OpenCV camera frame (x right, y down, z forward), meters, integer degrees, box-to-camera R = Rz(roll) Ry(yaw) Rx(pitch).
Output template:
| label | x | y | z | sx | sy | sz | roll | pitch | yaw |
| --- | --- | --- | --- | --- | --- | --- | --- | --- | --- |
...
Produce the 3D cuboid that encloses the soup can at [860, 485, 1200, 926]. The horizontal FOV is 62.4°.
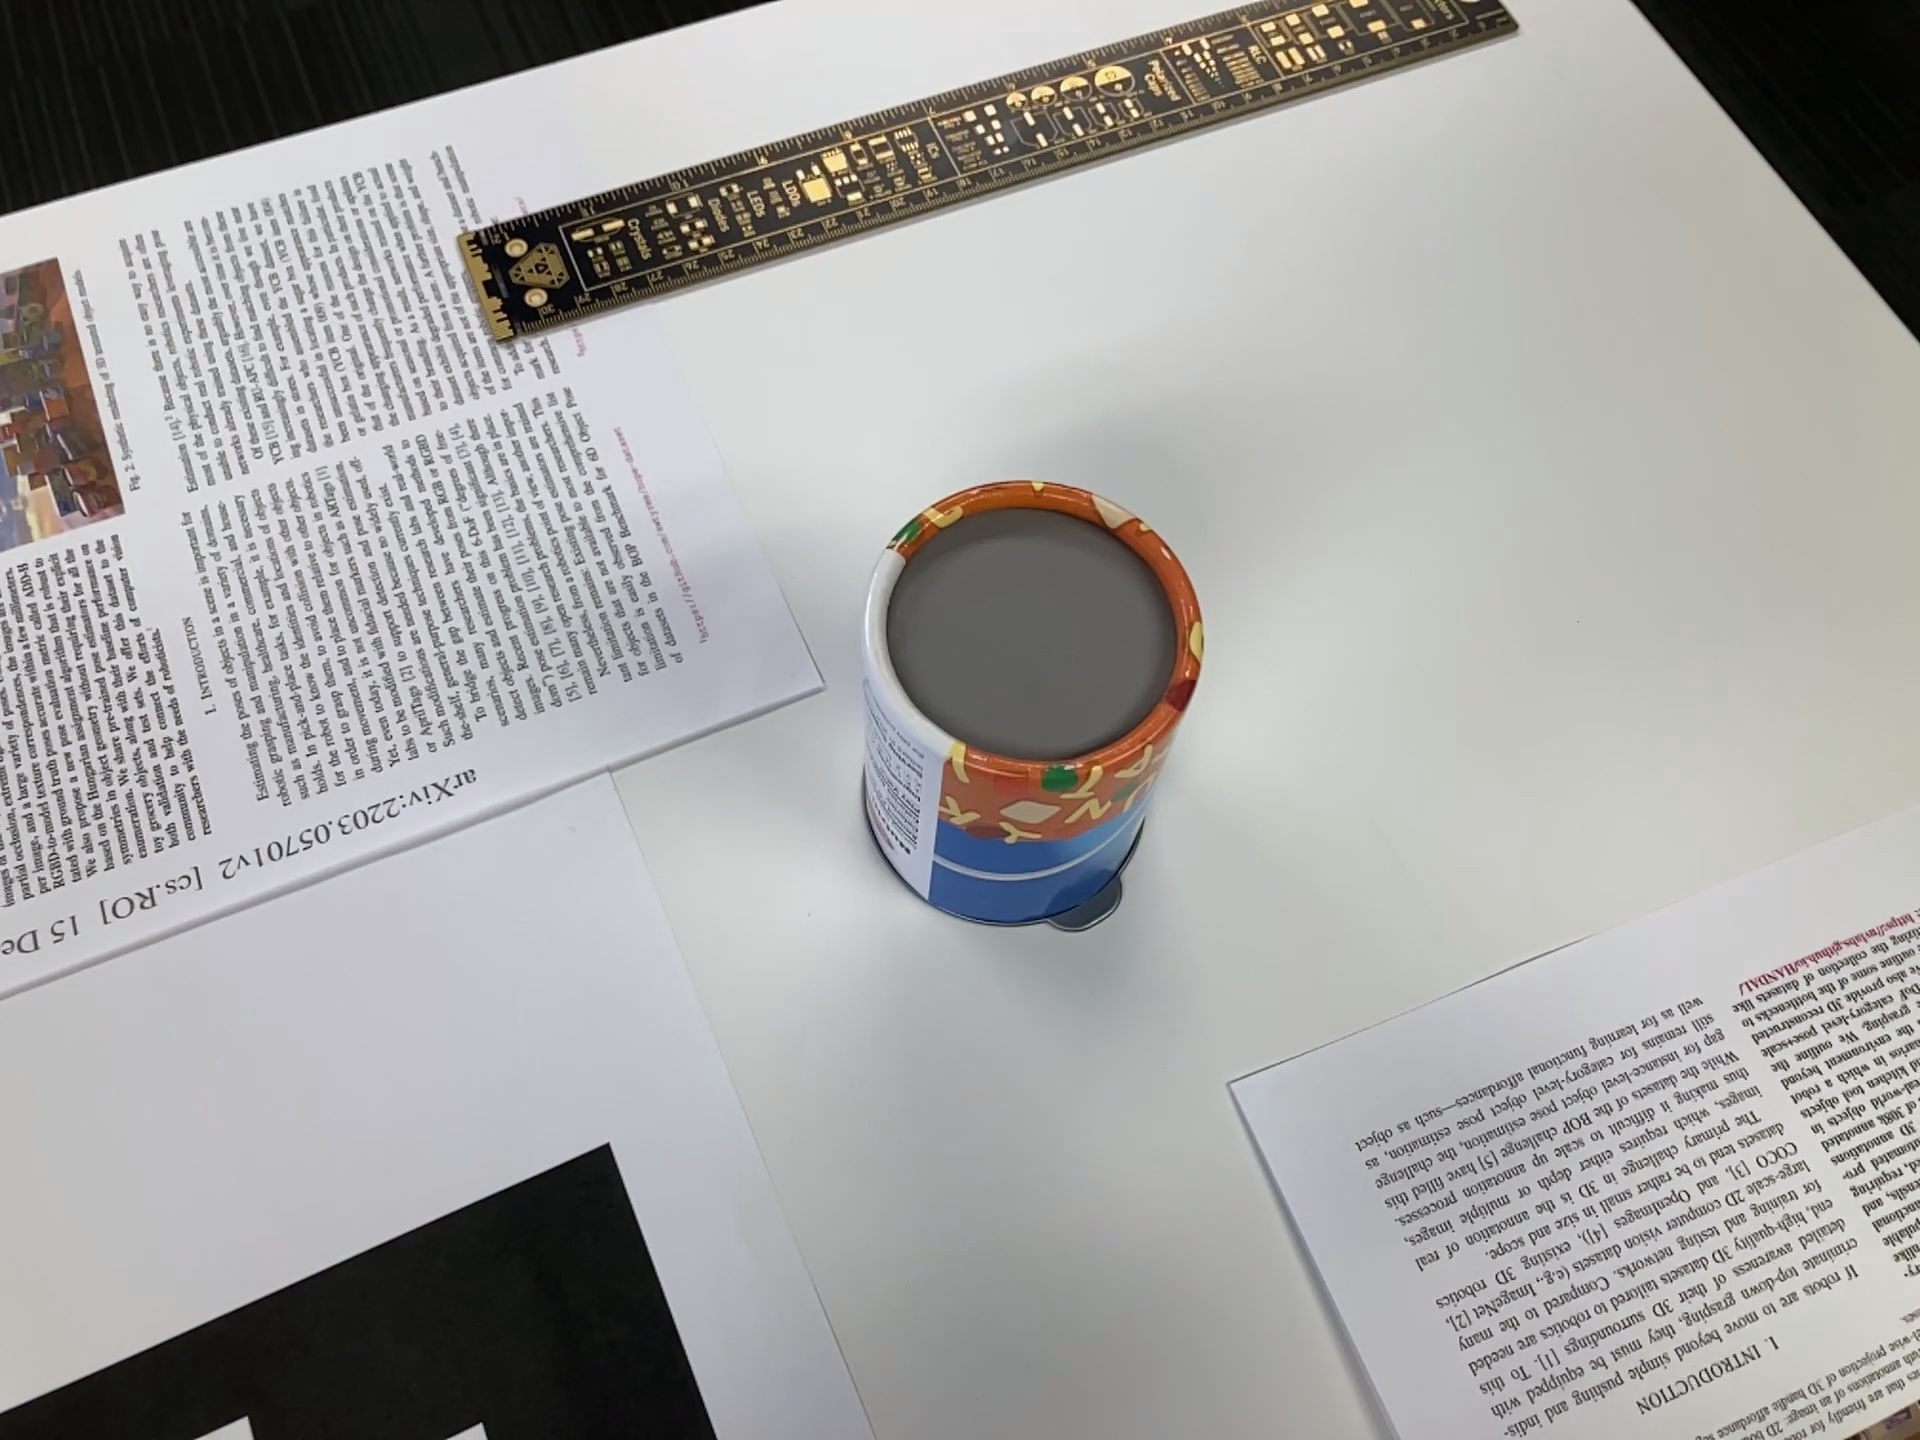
| label | x | y | z | sx | sy | sz | roll | pitch | yaw |
| --- | --- | --- | --- | --- | --- | --- | --- | --- | --- |
| soup can | 0.015 | -0.001 | 0.338 | 0.071 | 0.084 | 0.071 | 1 | 65 | -2 |
